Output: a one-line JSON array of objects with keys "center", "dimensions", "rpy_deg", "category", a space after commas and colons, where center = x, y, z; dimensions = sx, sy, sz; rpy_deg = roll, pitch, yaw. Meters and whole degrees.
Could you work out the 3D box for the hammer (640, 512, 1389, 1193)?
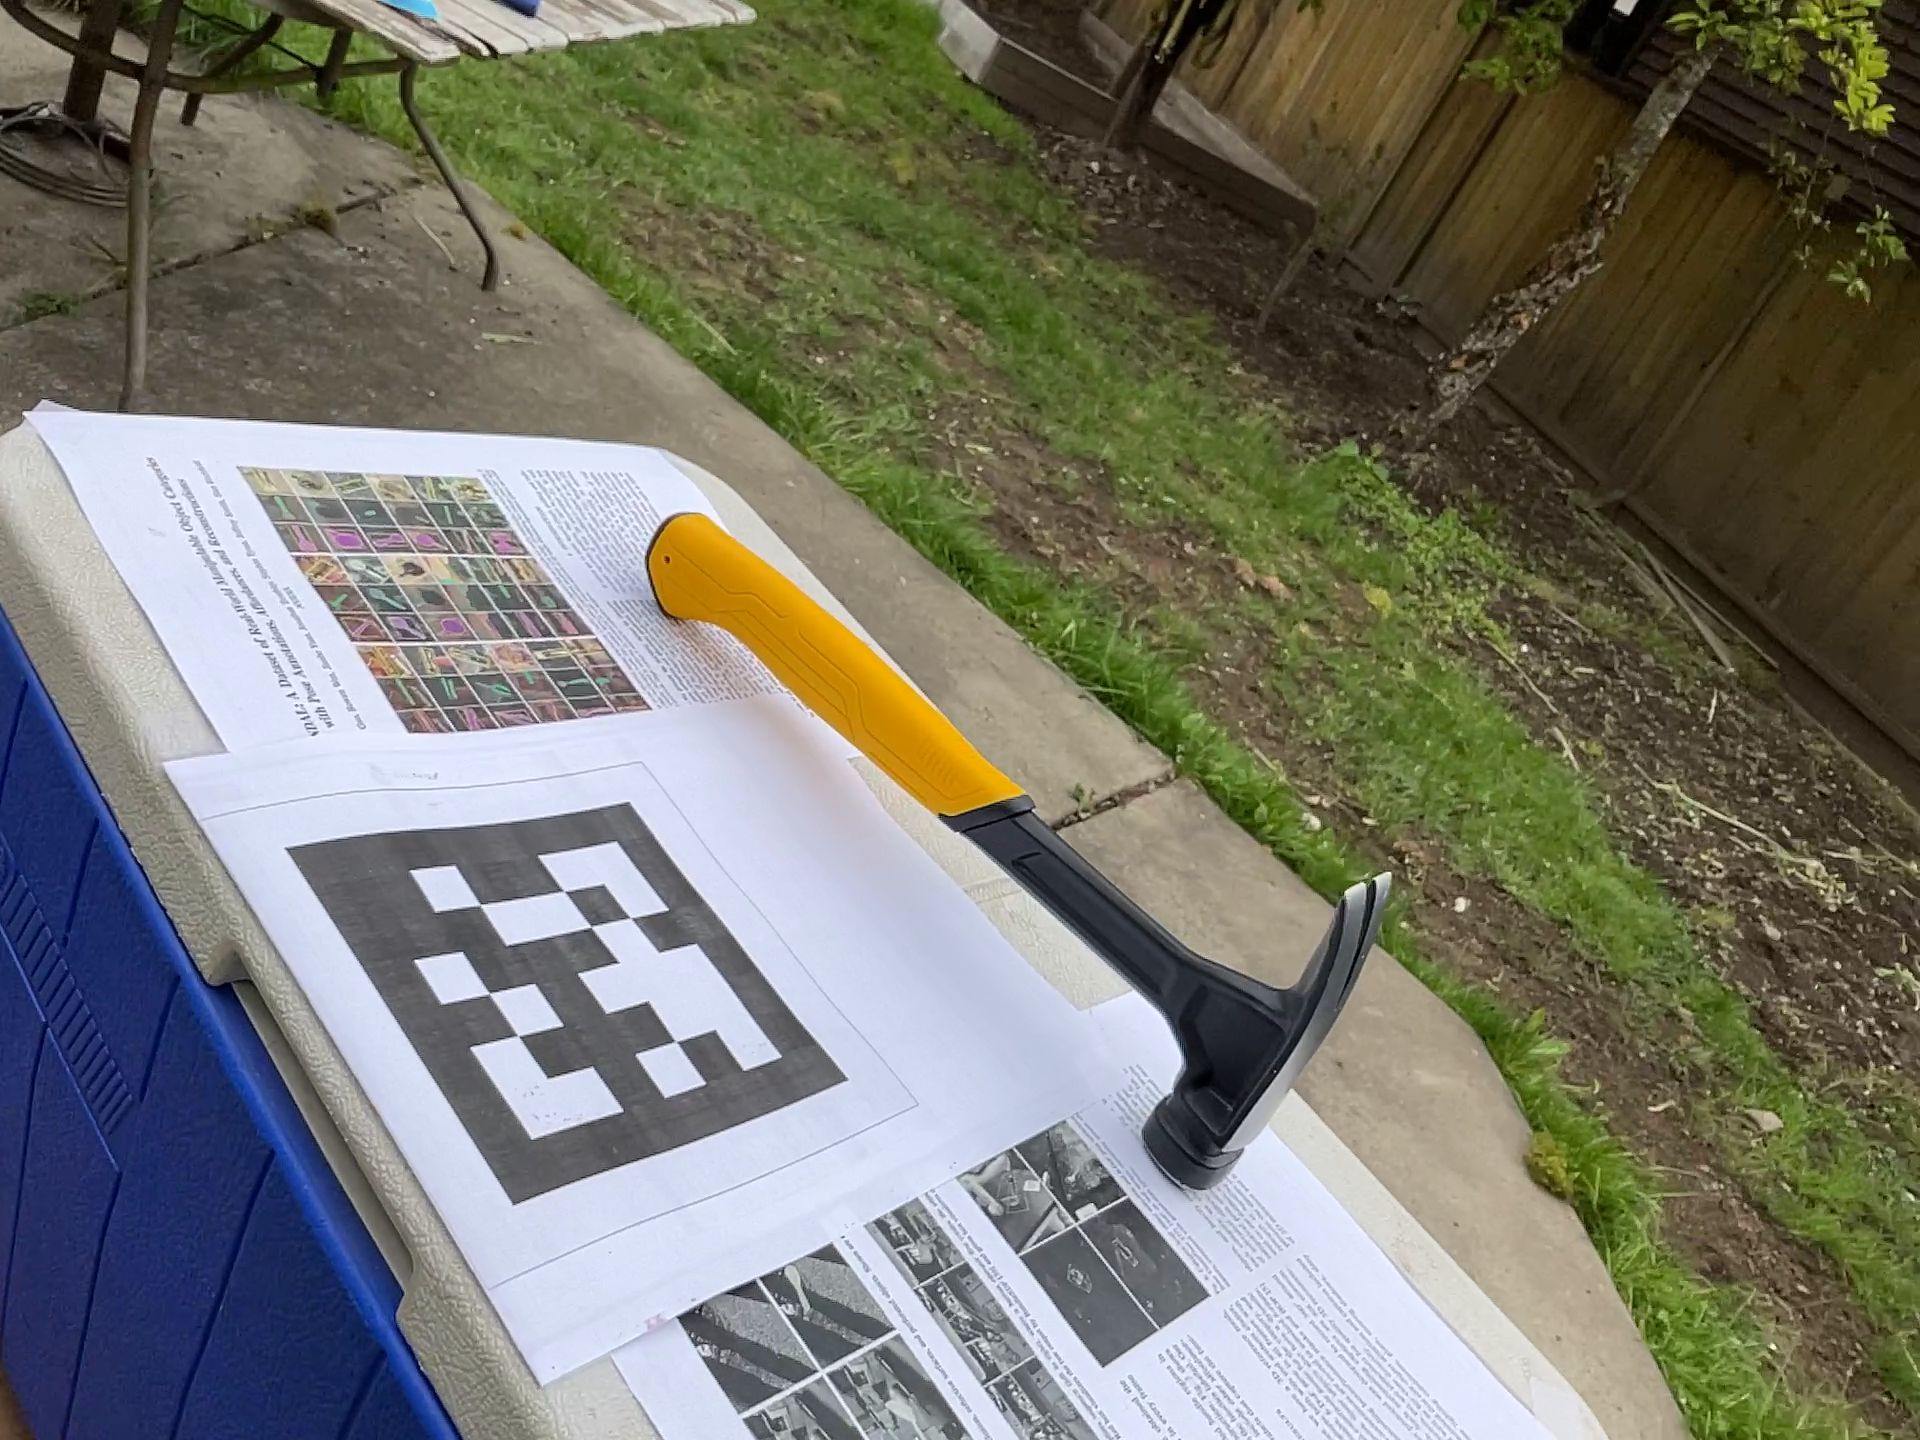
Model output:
[{"center": [-0.005, 0.014, 0.591], "dimensions": [0.337, 0.127, 0.034], "rpy_deg": [40, 29, 27], "category": "hammer"}]
